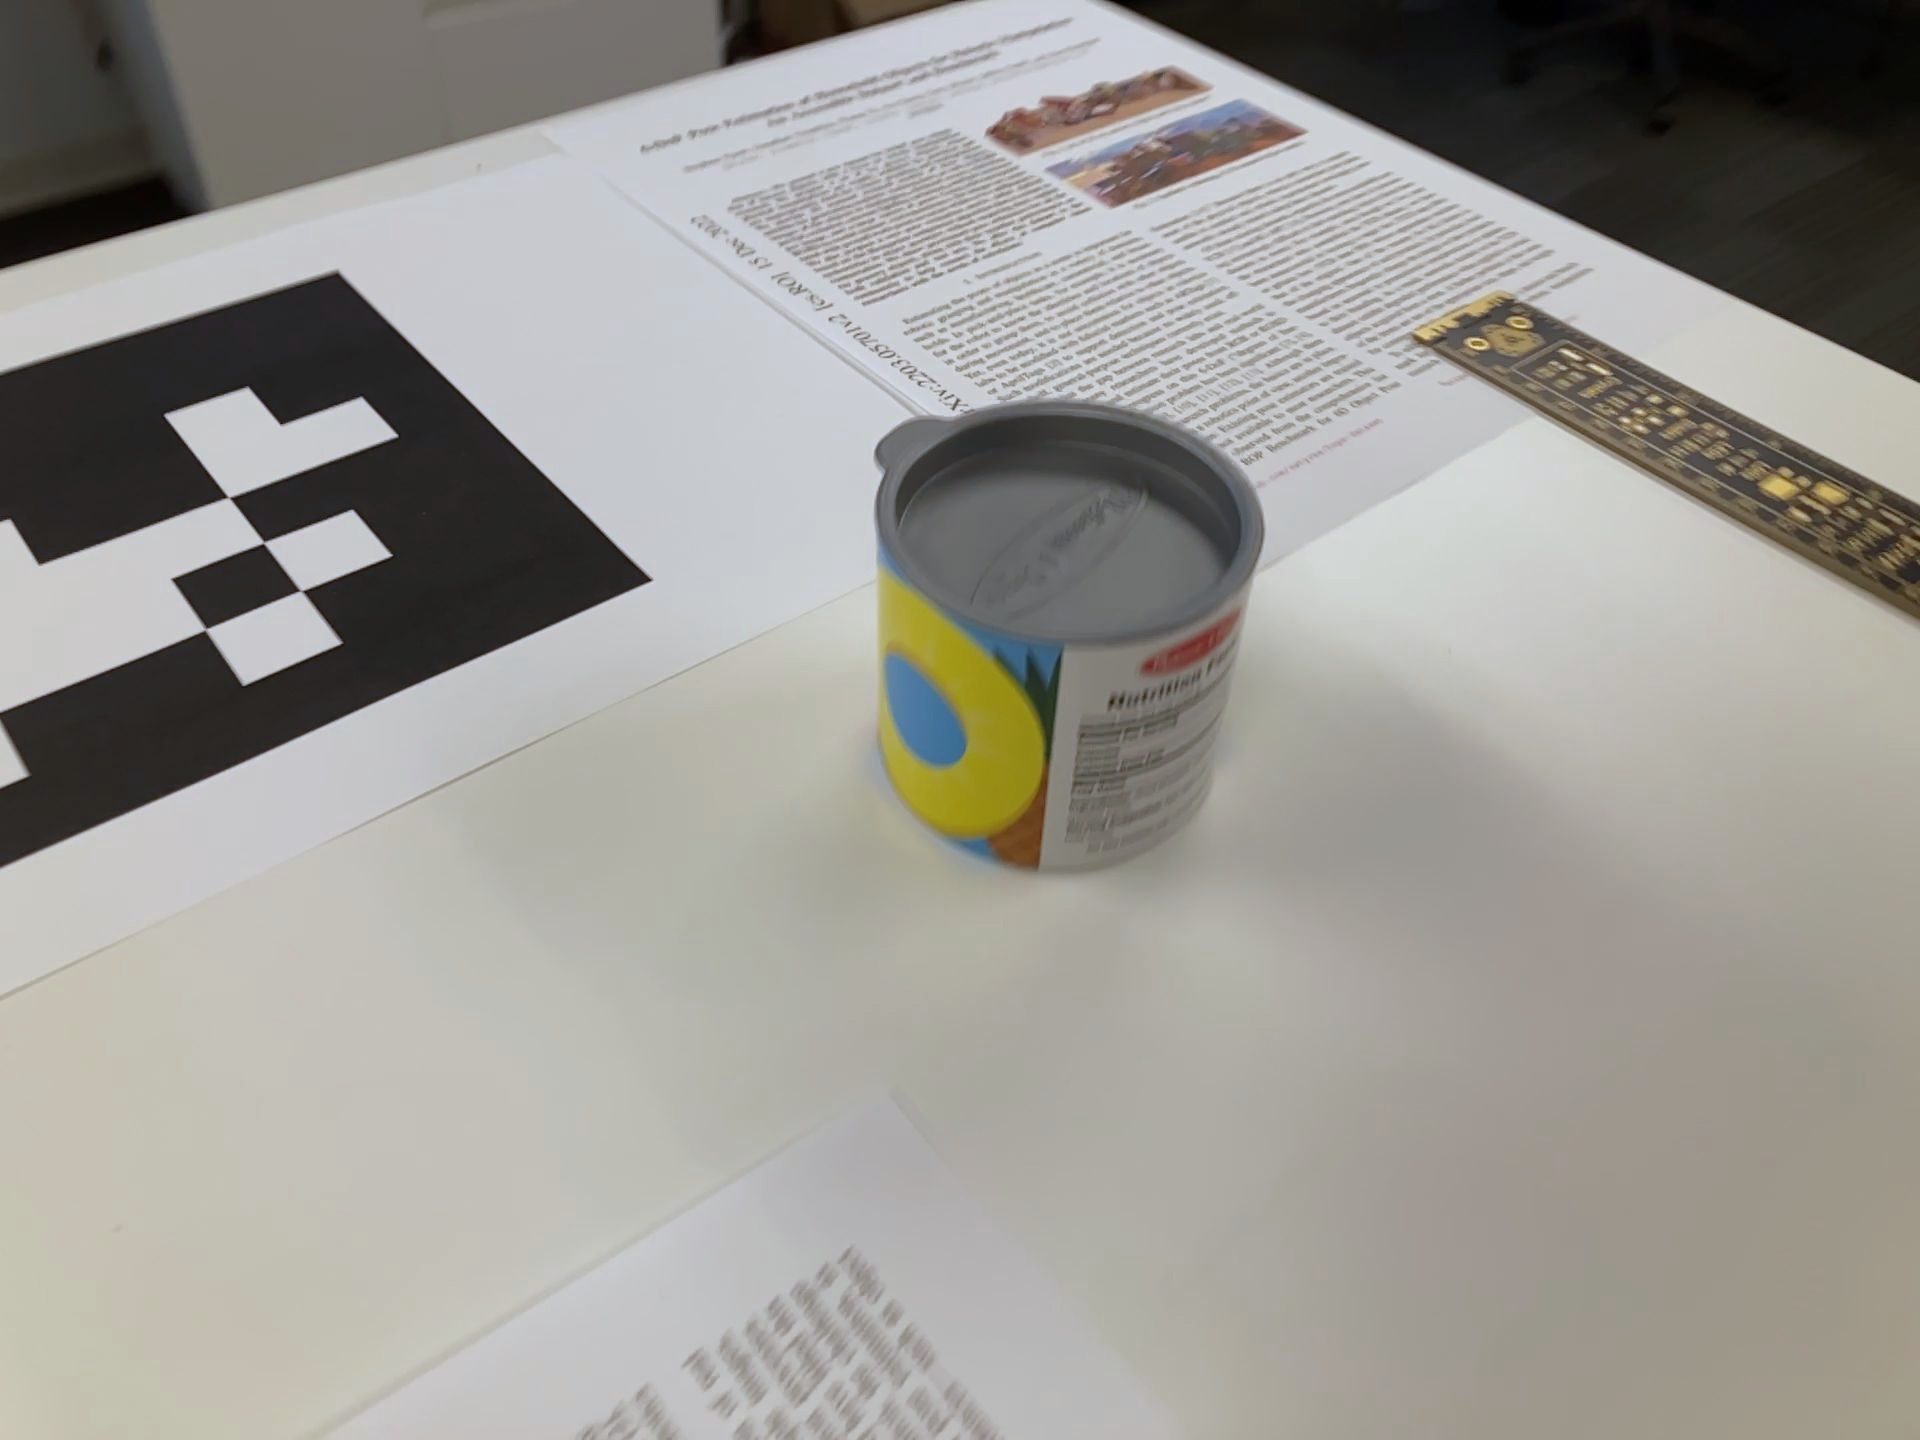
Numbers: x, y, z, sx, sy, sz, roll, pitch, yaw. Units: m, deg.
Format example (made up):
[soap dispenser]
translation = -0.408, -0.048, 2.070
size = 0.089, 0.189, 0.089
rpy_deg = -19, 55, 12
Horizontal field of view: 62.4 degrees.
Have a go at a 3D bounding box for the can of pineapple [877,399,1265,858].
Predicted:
[can of pineapple]
translation = 0.017, -0.018, 0.293
size = 0.071, 0.058, 0.071
rpy_deg = 2, 44, -2
